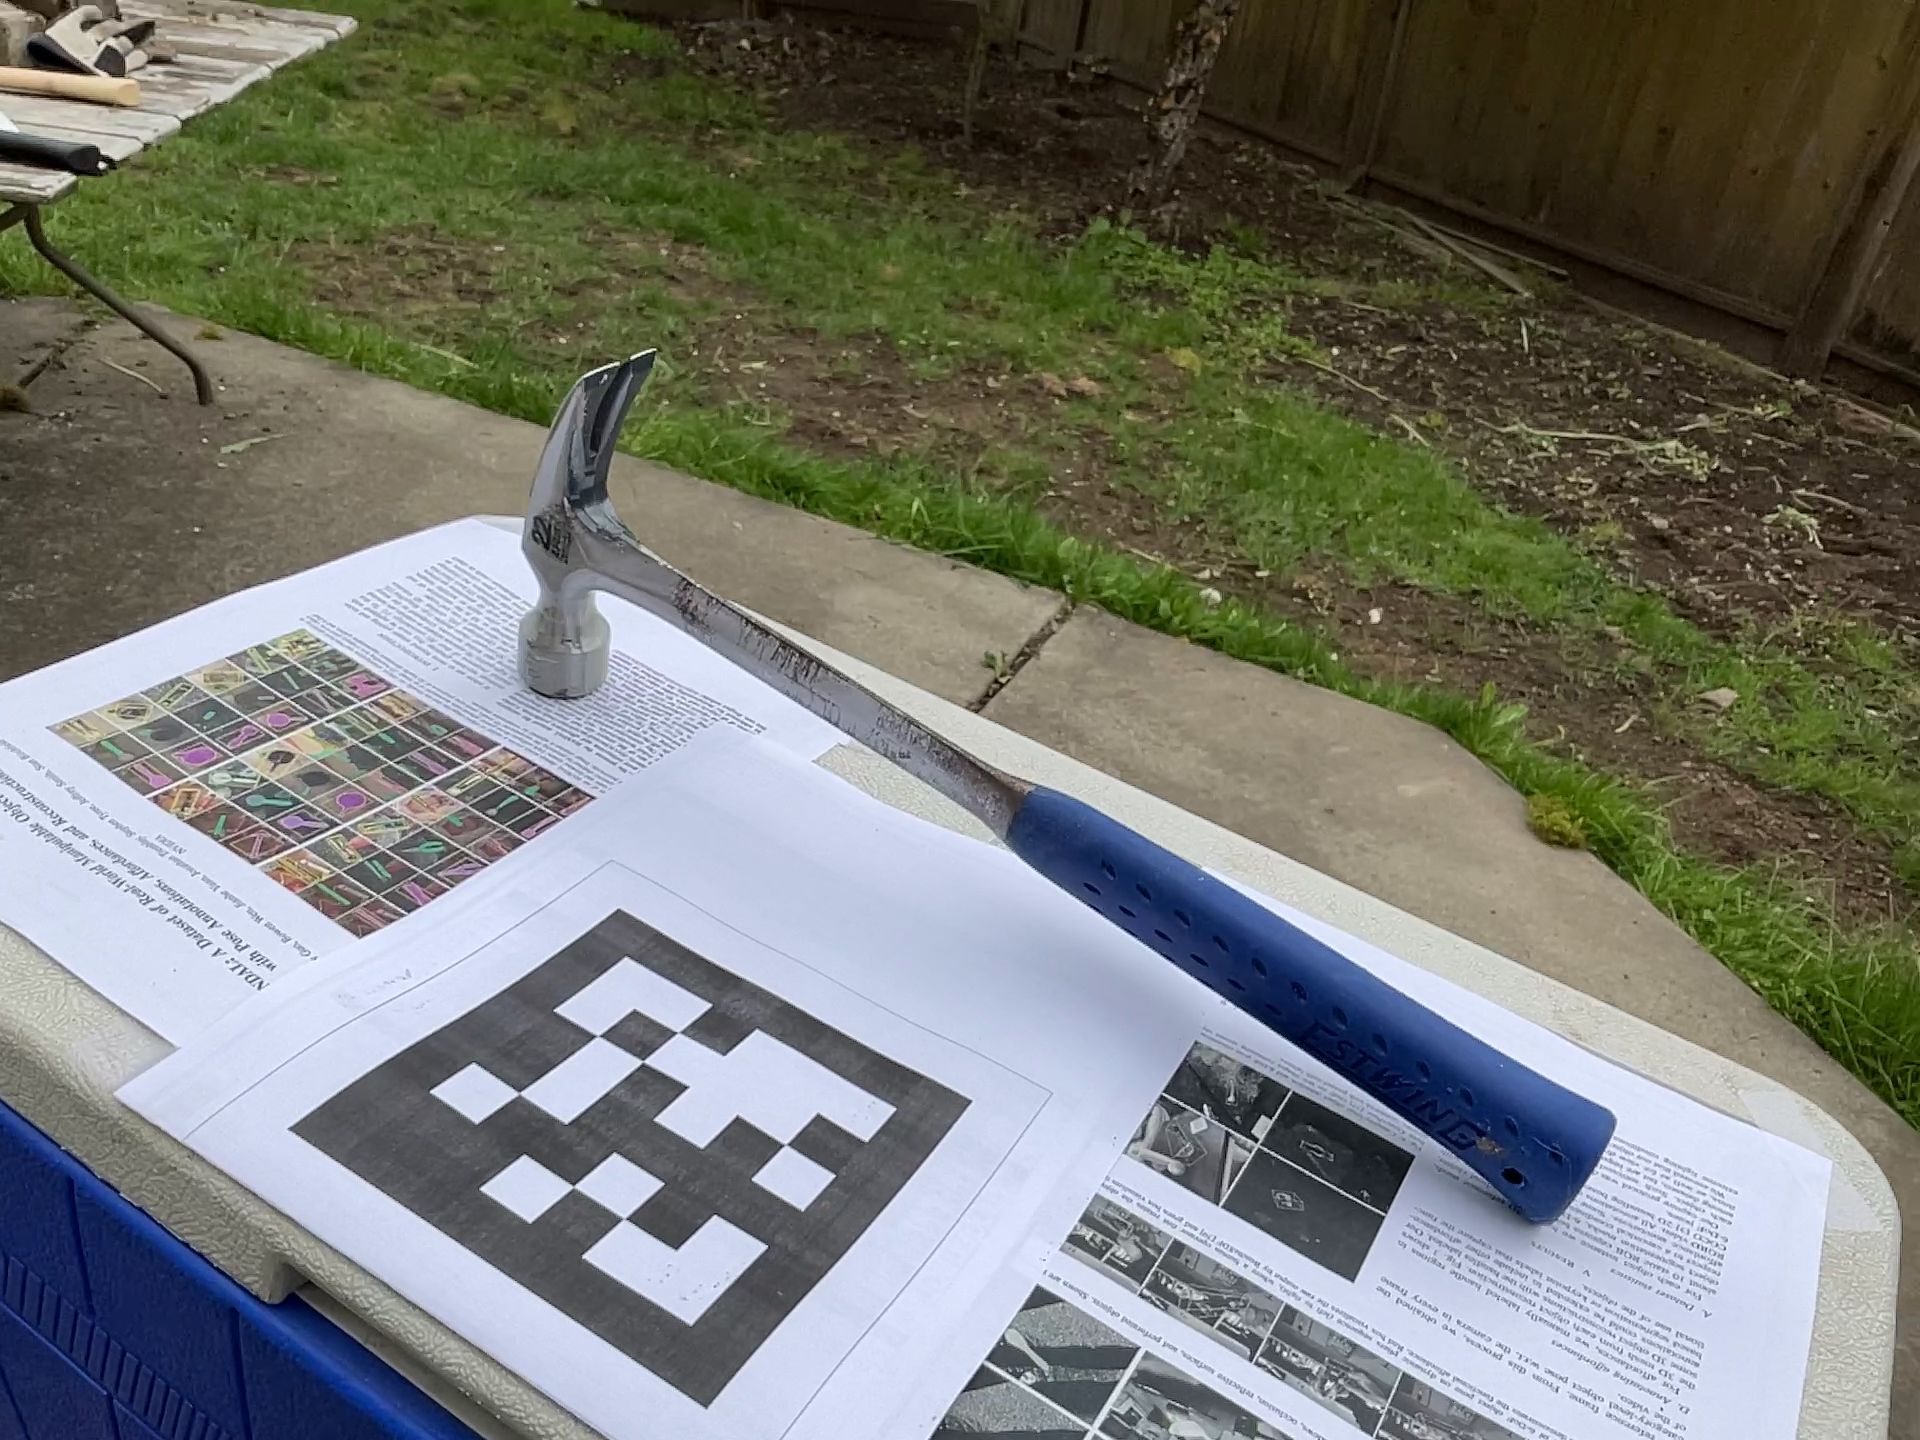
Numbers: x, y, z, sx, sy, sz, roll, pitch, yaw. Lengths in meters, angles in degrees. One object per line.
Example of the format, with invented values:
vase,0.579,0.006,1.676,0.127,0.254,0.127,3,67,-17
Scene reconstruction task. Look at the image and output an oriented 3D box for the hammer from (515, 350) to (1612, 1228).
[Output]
hammer,0.012,0.022,0.510,0.405,0.144,0.035,32,41,18
